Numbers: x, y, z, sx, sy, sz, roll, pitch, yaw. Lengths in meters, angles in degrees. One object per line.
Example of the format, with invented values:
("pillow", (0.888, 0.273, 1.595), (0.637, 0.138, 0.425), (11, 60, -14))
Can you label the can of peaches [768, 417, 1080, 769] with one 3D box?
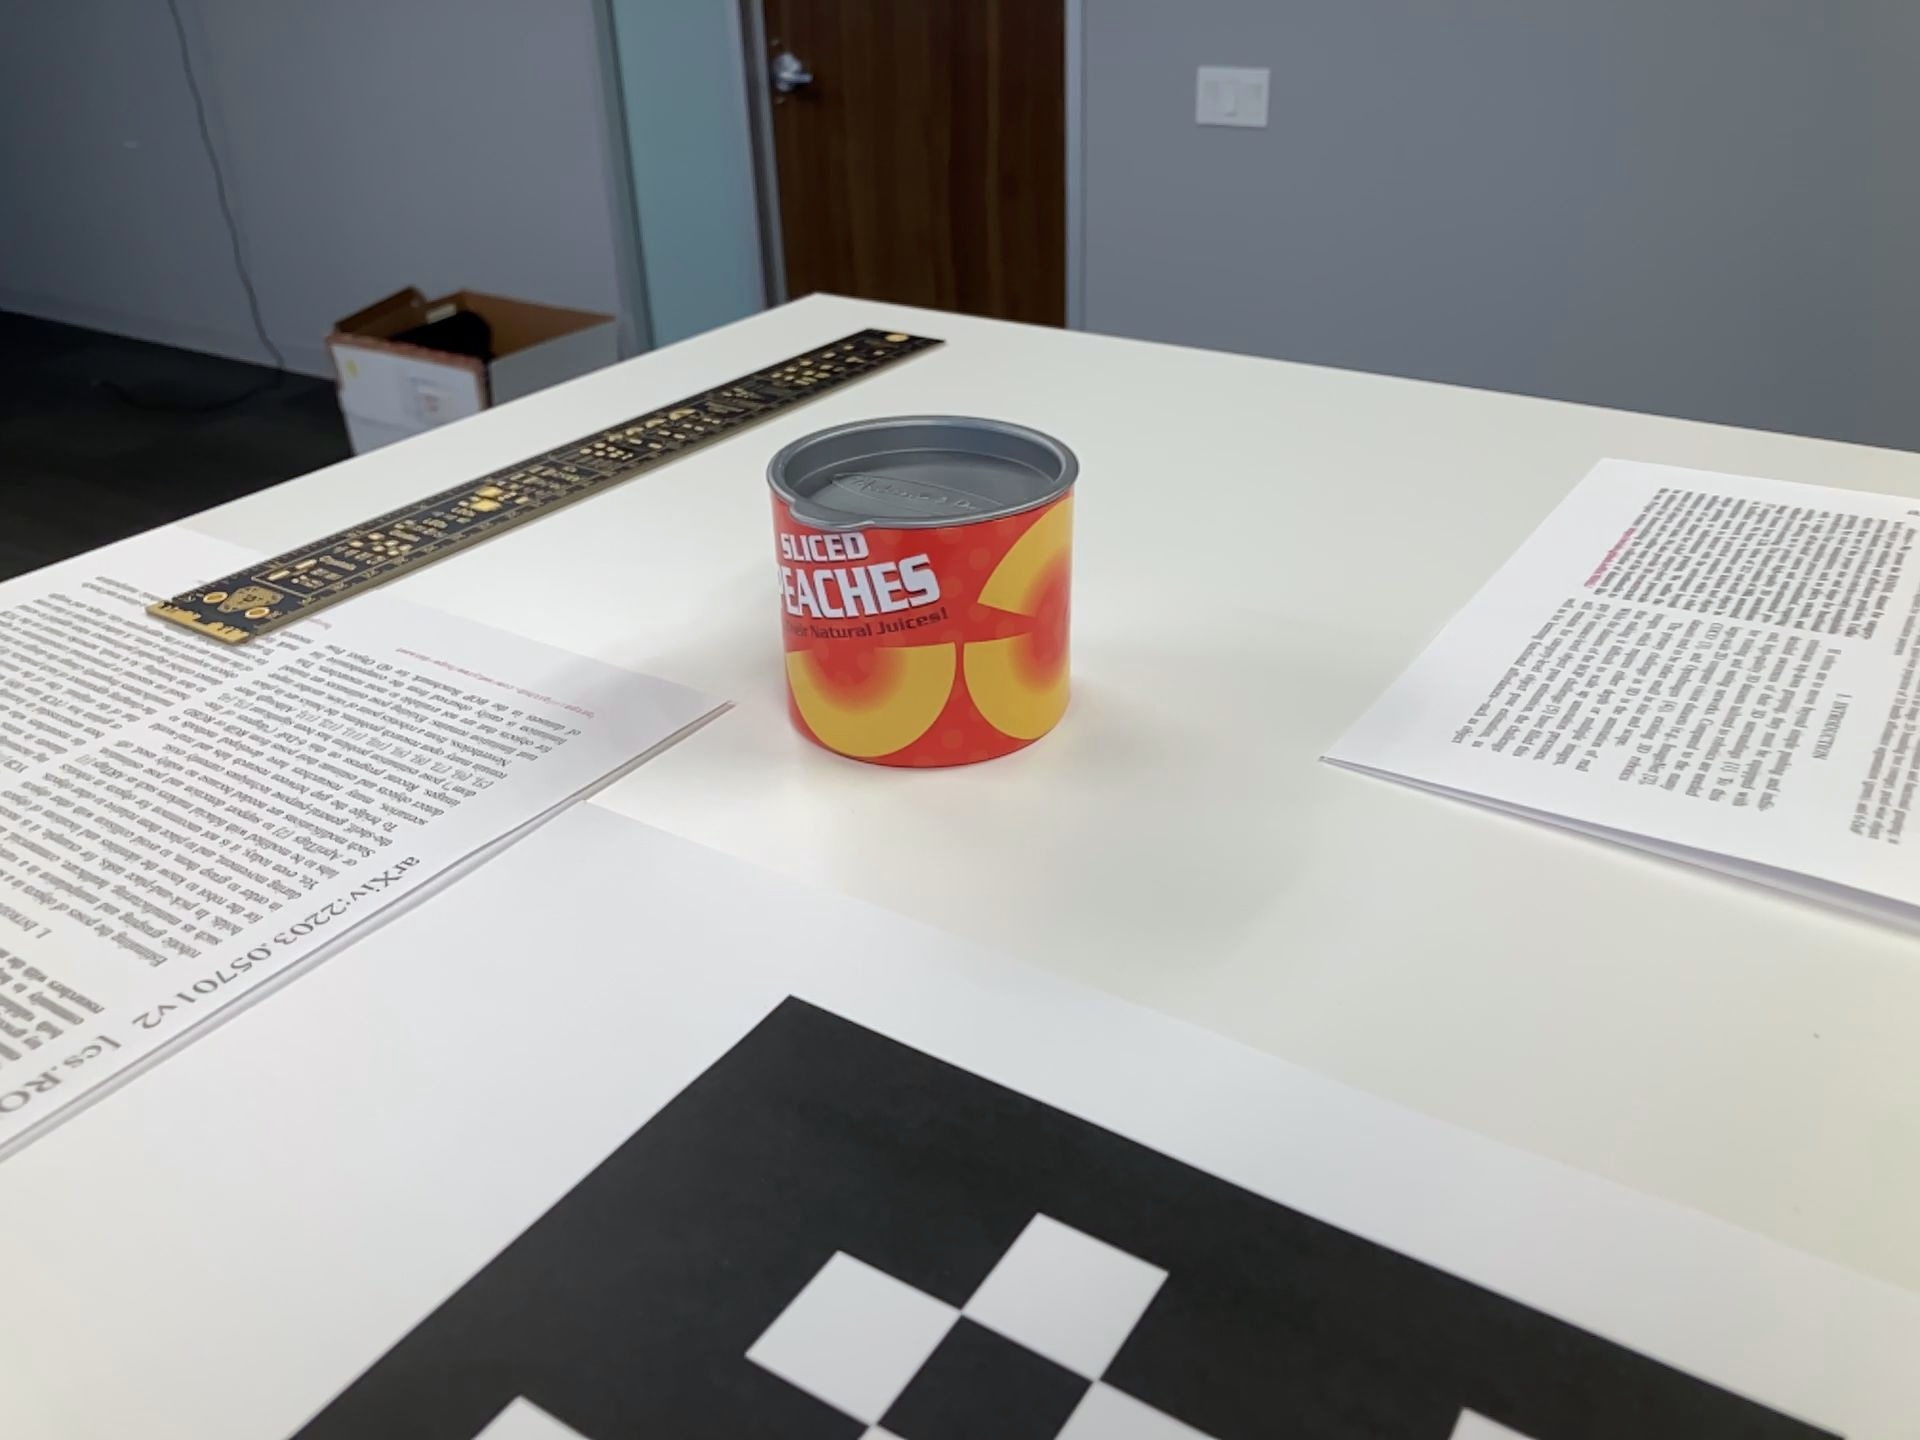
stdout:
("can of peaches", (-0.009, -0.028, 0.349), (0.071, 0.058, 0.071), (-1, 29, 0))
